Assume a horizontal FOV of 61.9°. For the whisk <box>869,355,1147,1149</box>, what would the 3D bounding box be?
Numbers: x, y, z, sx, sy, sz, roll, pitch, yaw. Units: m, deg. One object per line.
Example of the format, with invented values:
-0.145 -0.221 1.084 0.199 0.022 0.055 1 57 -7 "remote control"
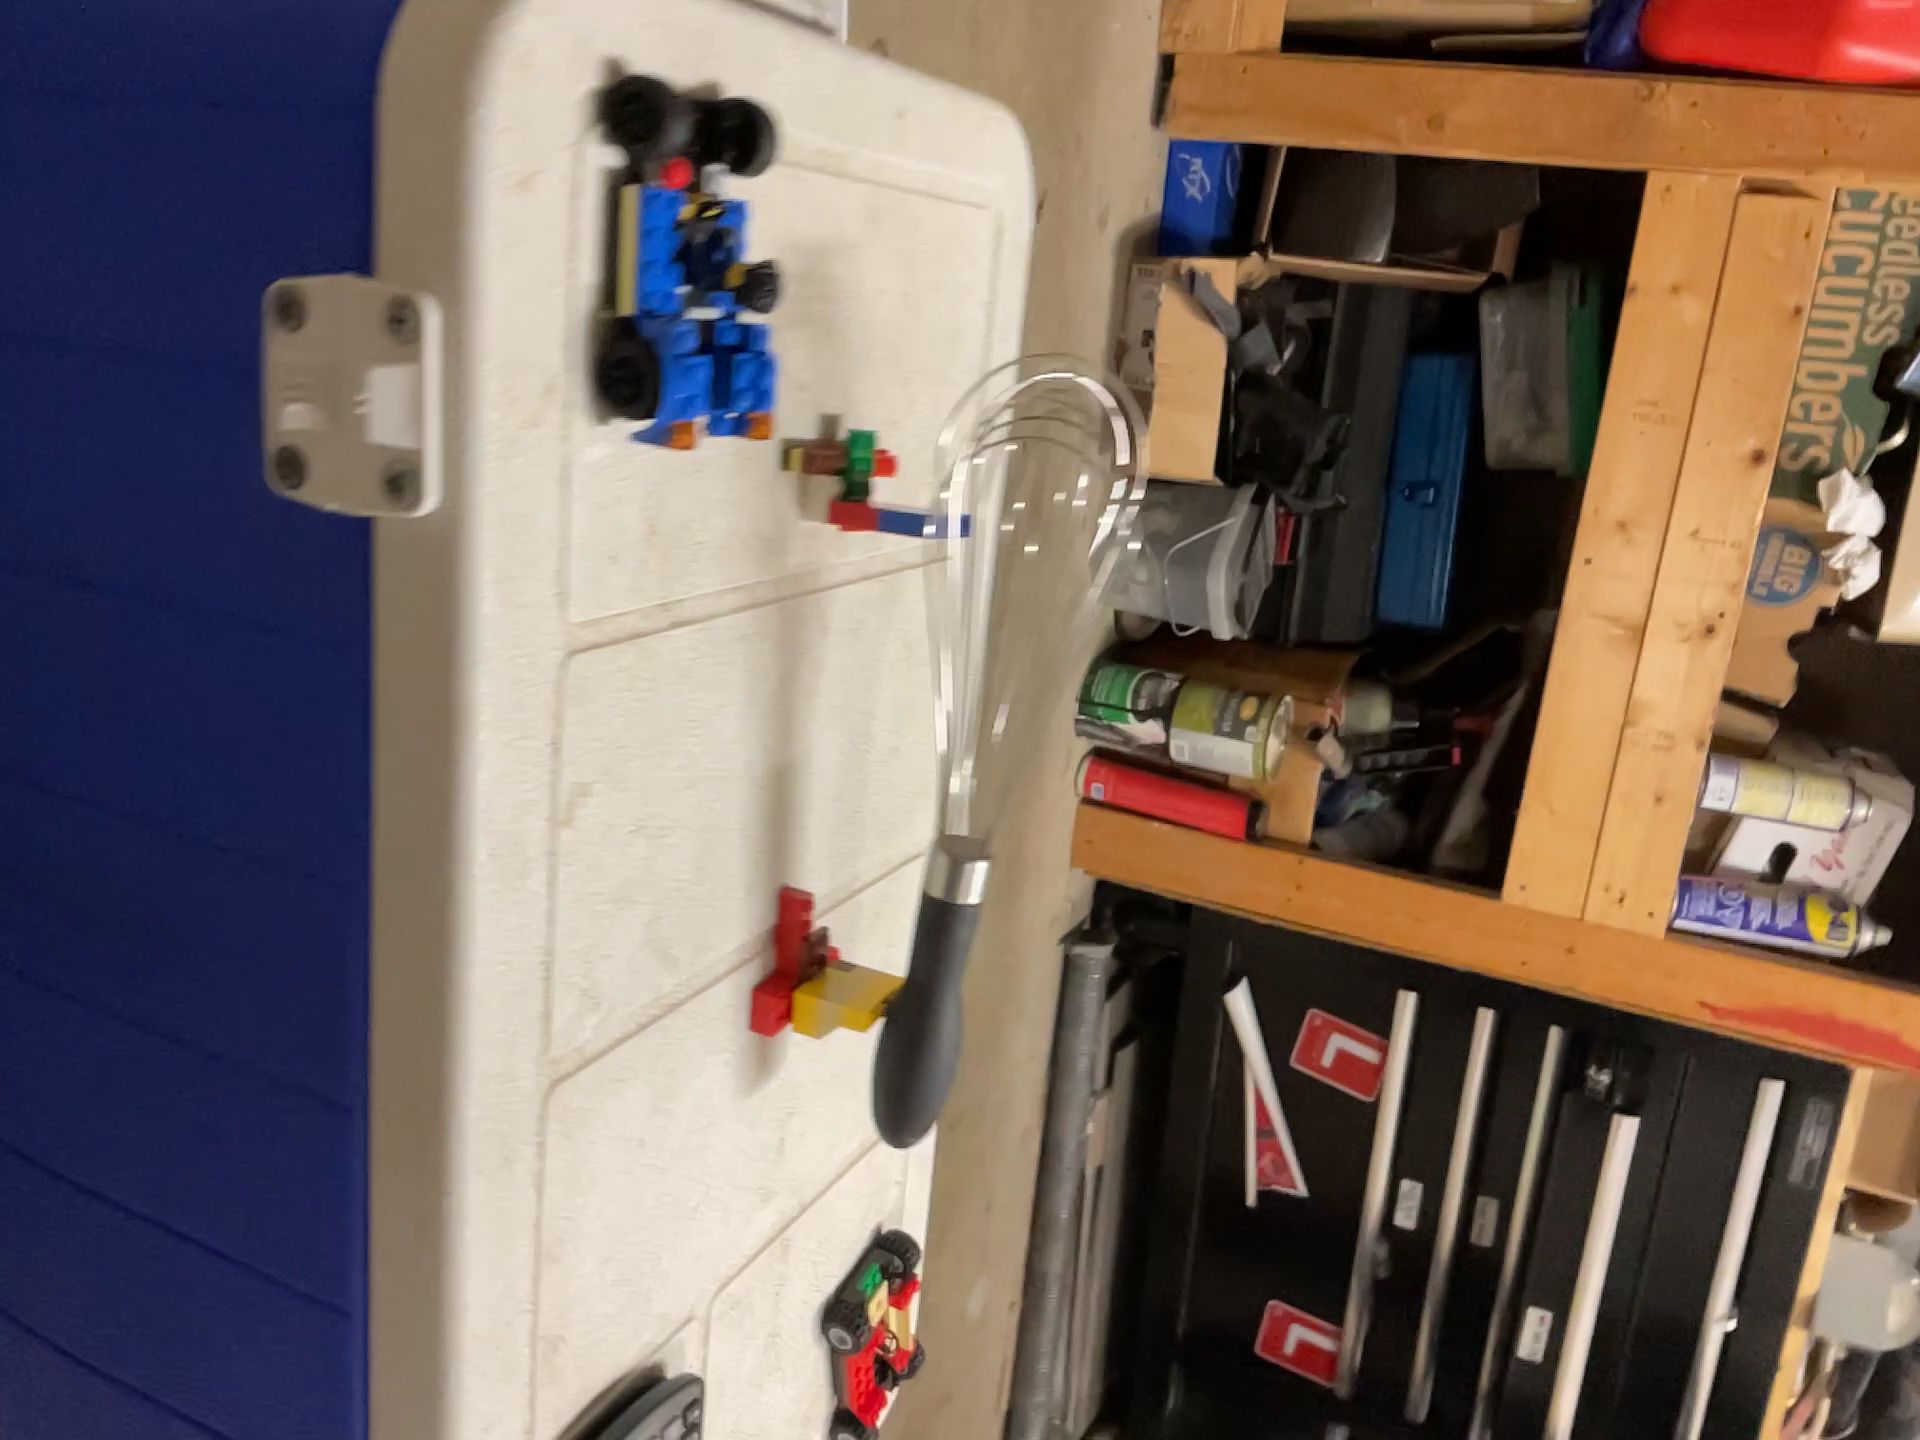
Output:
0.006 0.021 0.536 0.070 0.070 0.284 -35 139 -66 "whisk"
